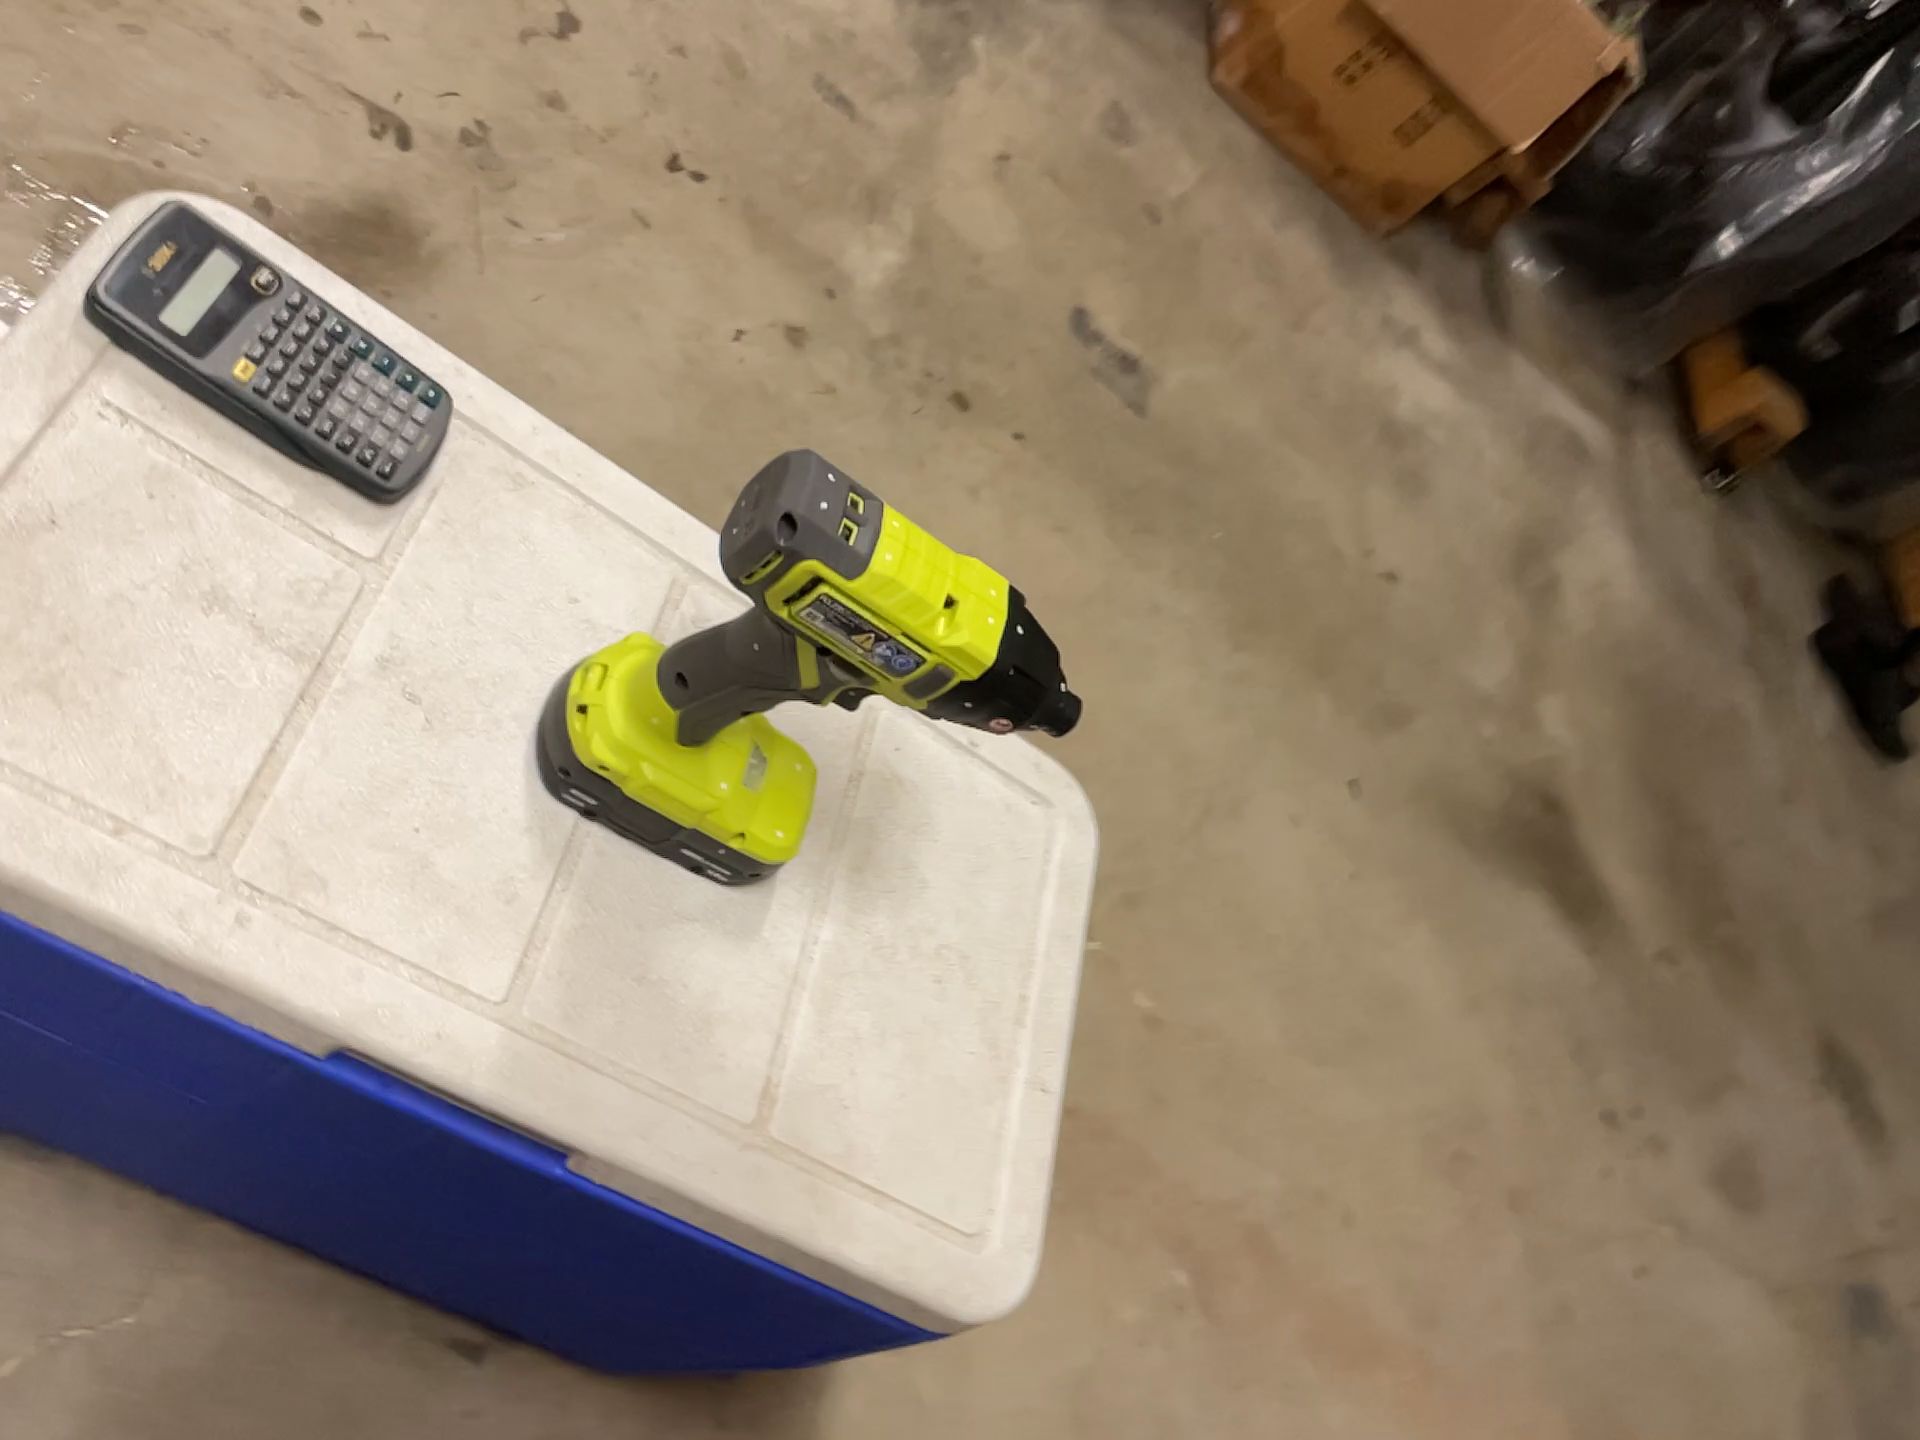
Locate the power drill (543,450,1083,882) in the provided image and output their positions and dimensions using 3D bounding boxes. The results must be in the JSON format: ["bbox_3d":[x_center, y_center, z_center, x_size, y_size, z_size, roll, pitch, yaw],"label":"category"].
[{"bbox_3d":[-0.070,-0.010,0.708,0.171,0.223,0.080,33,49,-27],"label":"power drill"}]
